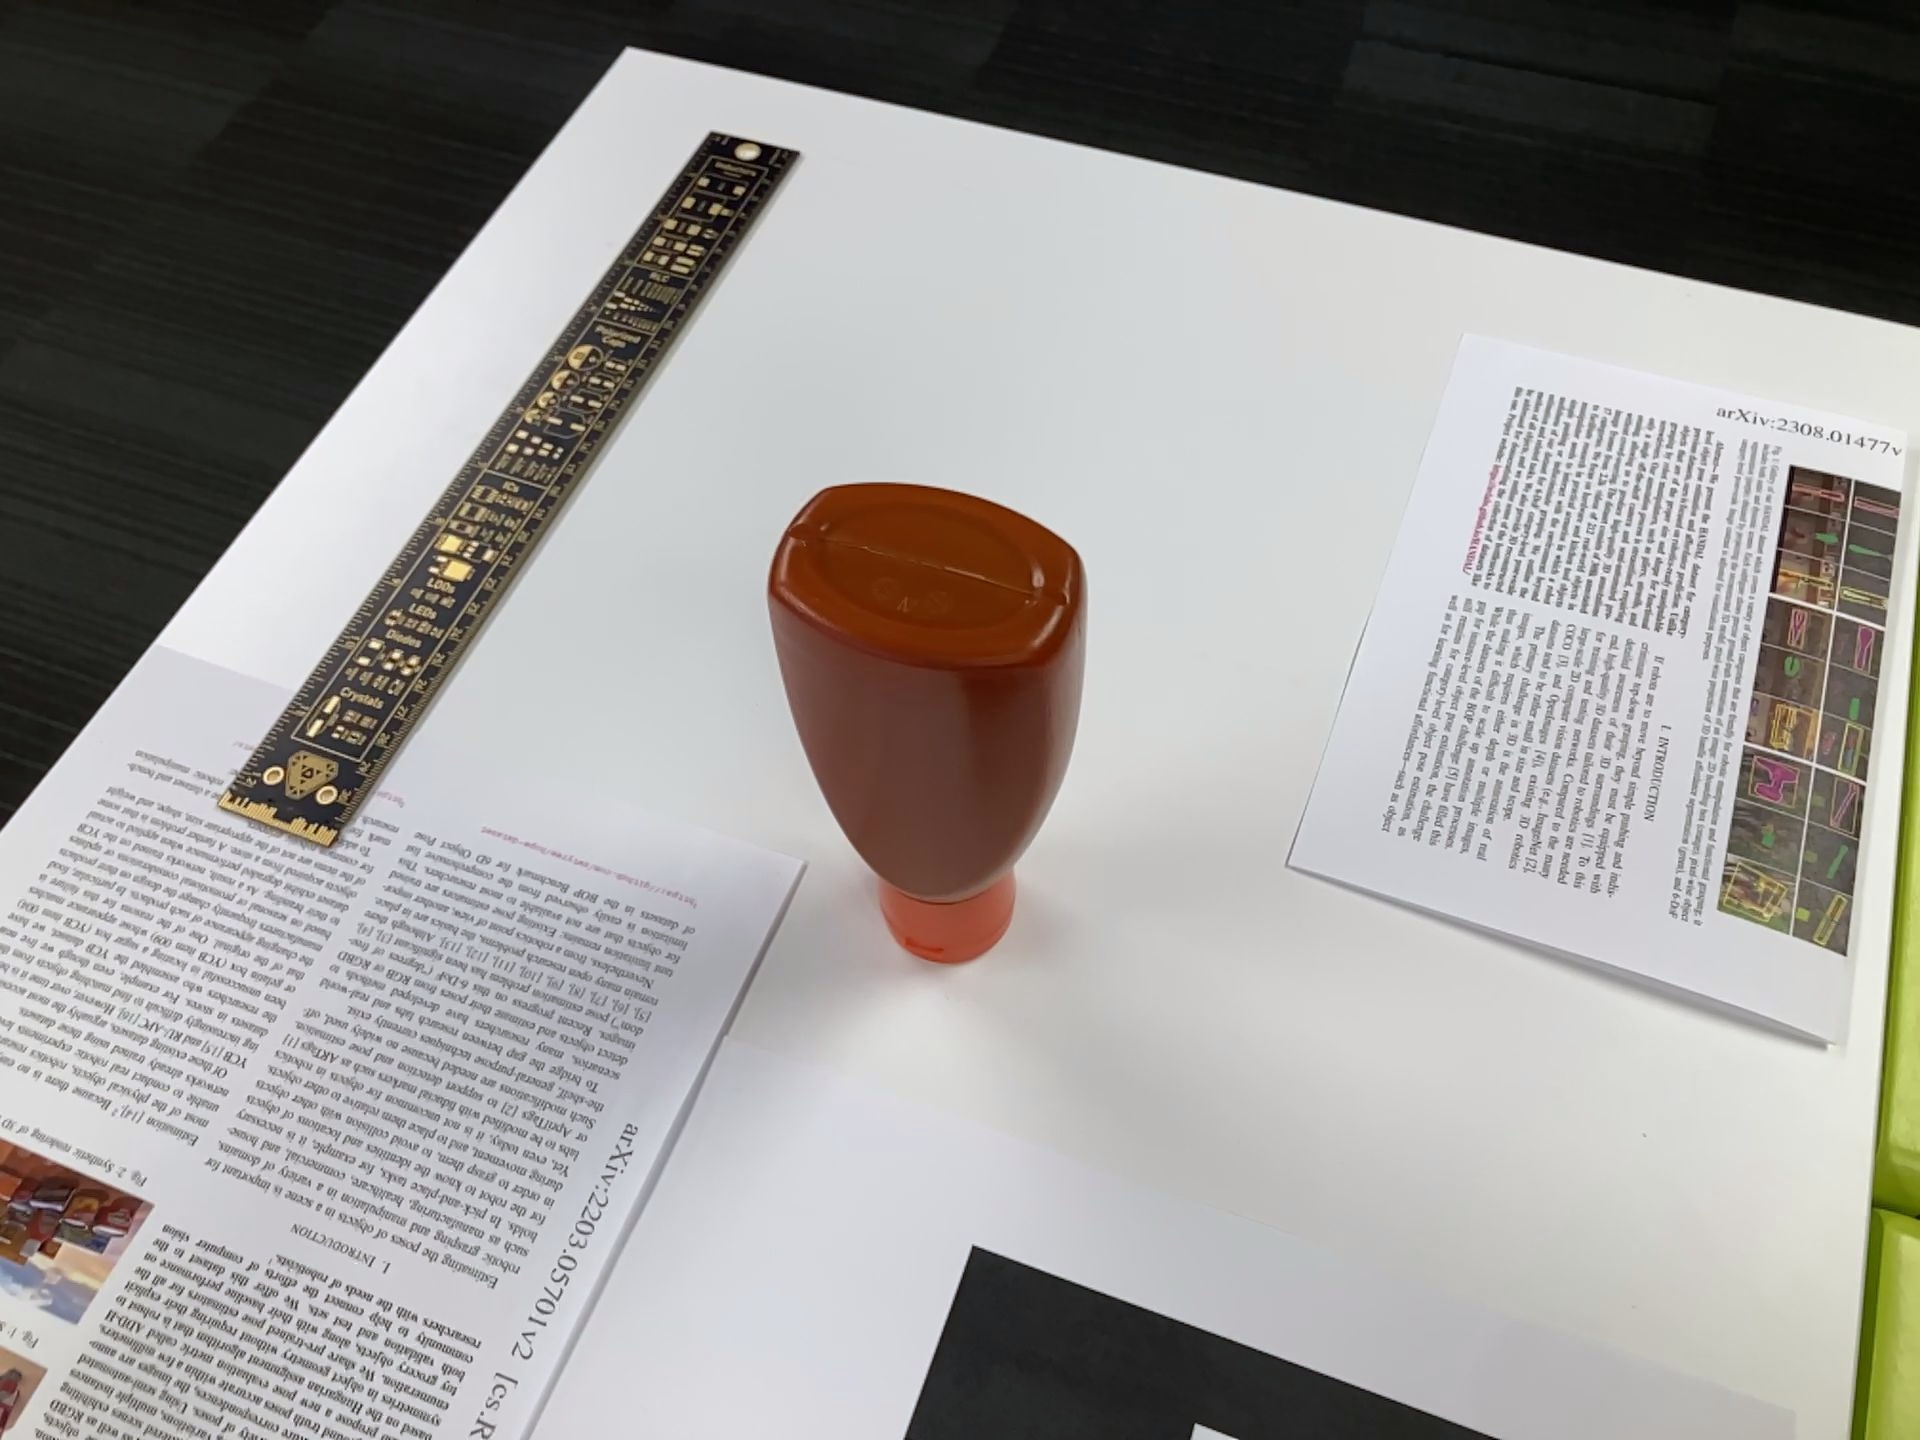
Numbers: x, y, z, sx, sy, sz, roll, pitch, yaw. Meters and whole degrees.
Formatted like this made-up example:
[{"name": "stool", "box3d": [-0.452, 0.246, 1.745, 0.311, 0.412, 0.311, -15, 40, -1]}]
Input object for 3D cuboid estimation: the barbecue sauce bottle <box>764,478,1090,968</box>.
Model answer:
[{"name": "barbecue sauce bottle", "box3d": [-0.005, 0.010, 0.365, 0.065, 0.148, 0.043, 15, 58, 11]}]
